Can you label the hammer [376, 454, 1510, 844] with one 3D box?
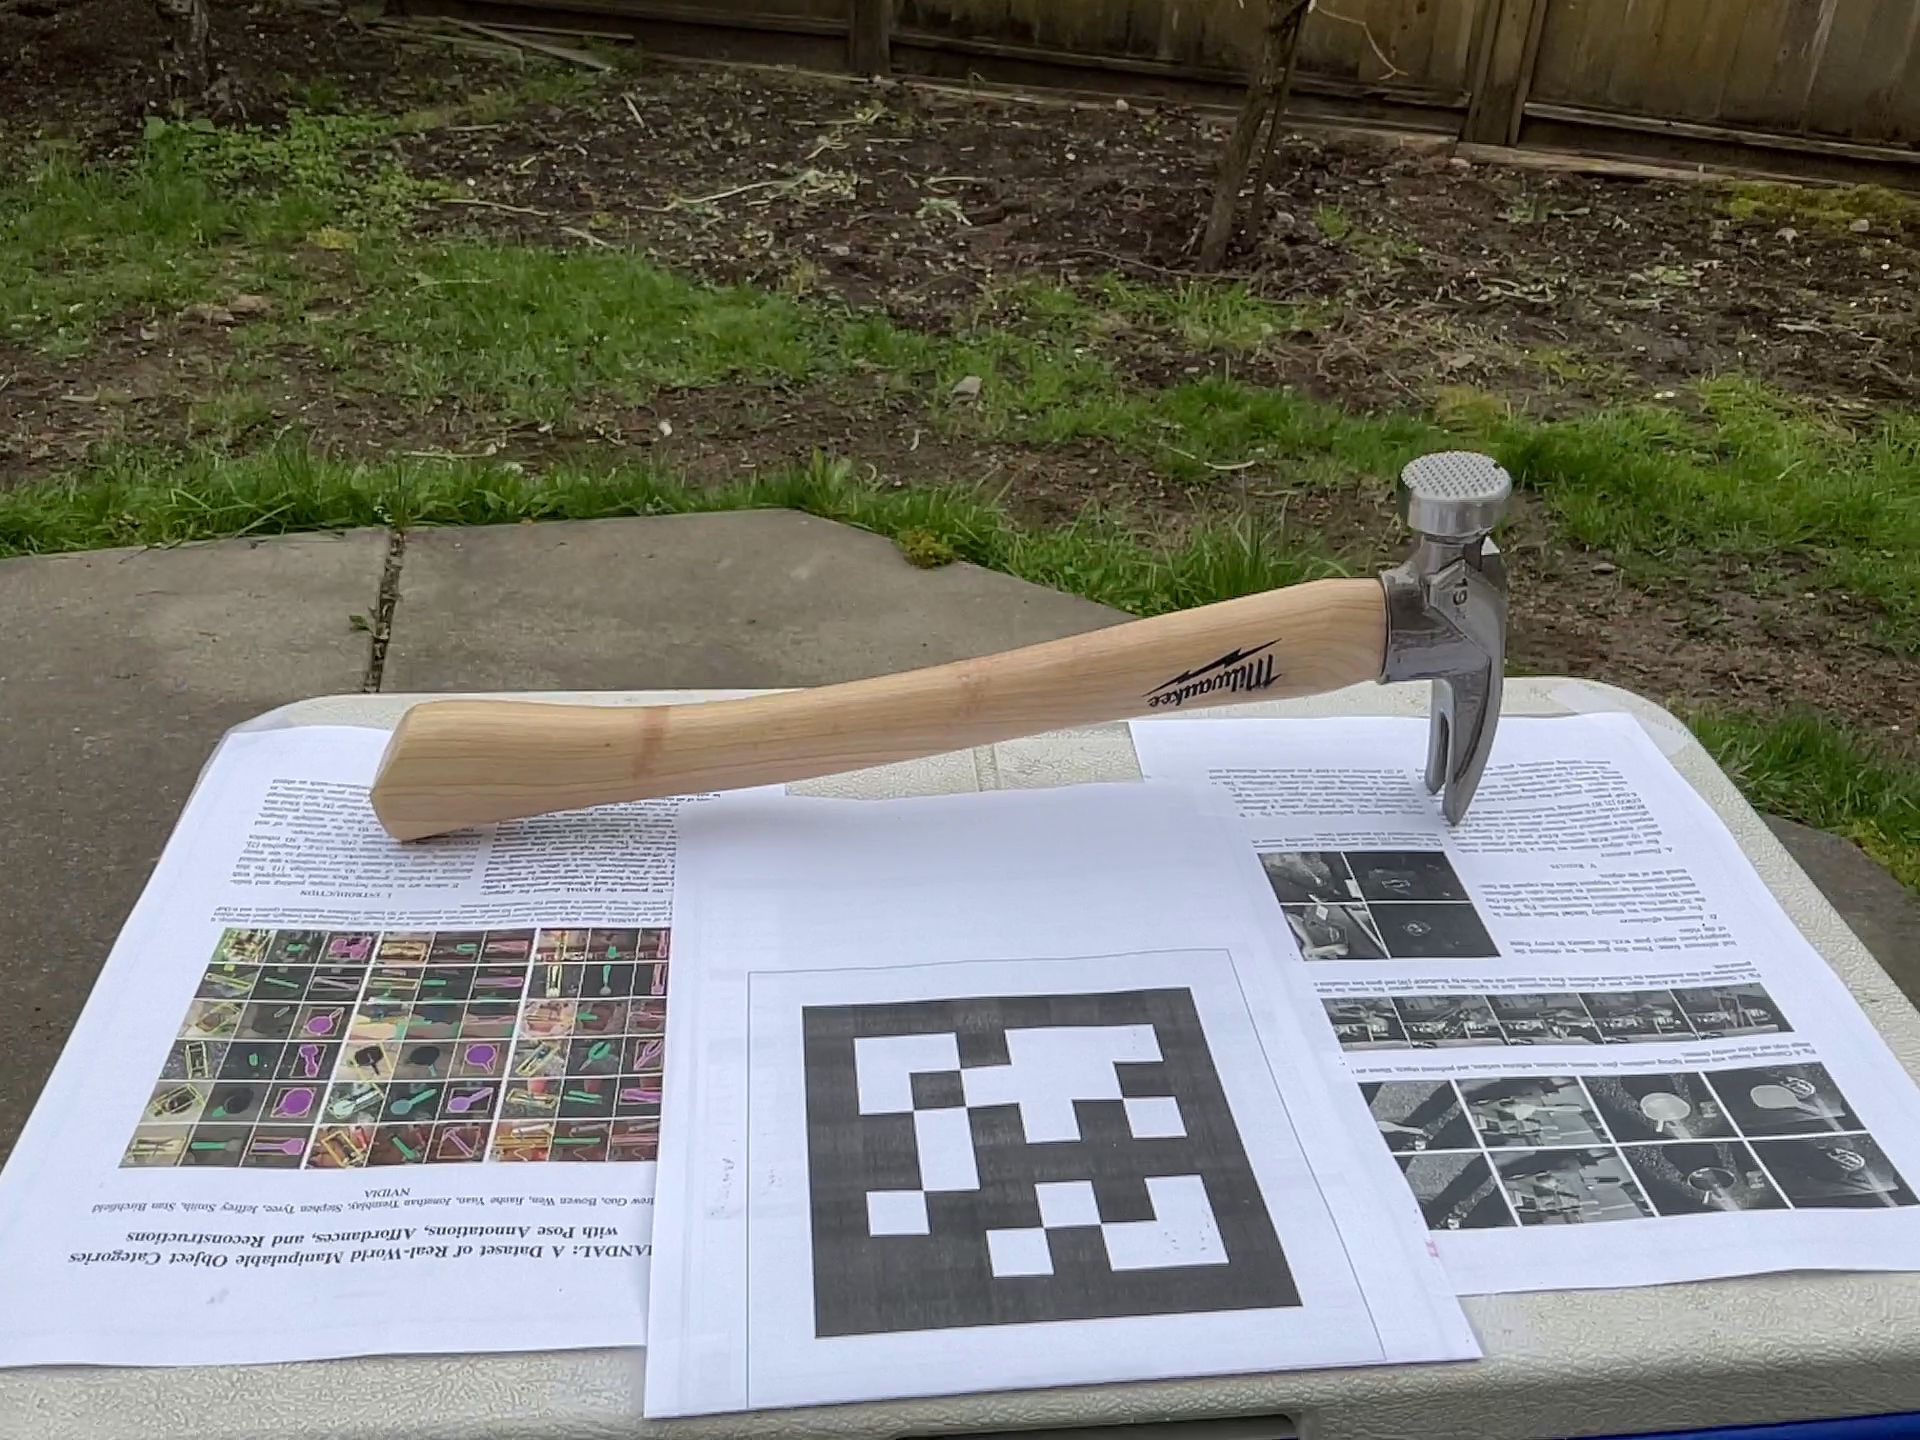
[{"bbox_3d":[-0.004,0.004,0.592,0.410,0.146,0.038,-9,34,-1],"label":"hammer"}]
